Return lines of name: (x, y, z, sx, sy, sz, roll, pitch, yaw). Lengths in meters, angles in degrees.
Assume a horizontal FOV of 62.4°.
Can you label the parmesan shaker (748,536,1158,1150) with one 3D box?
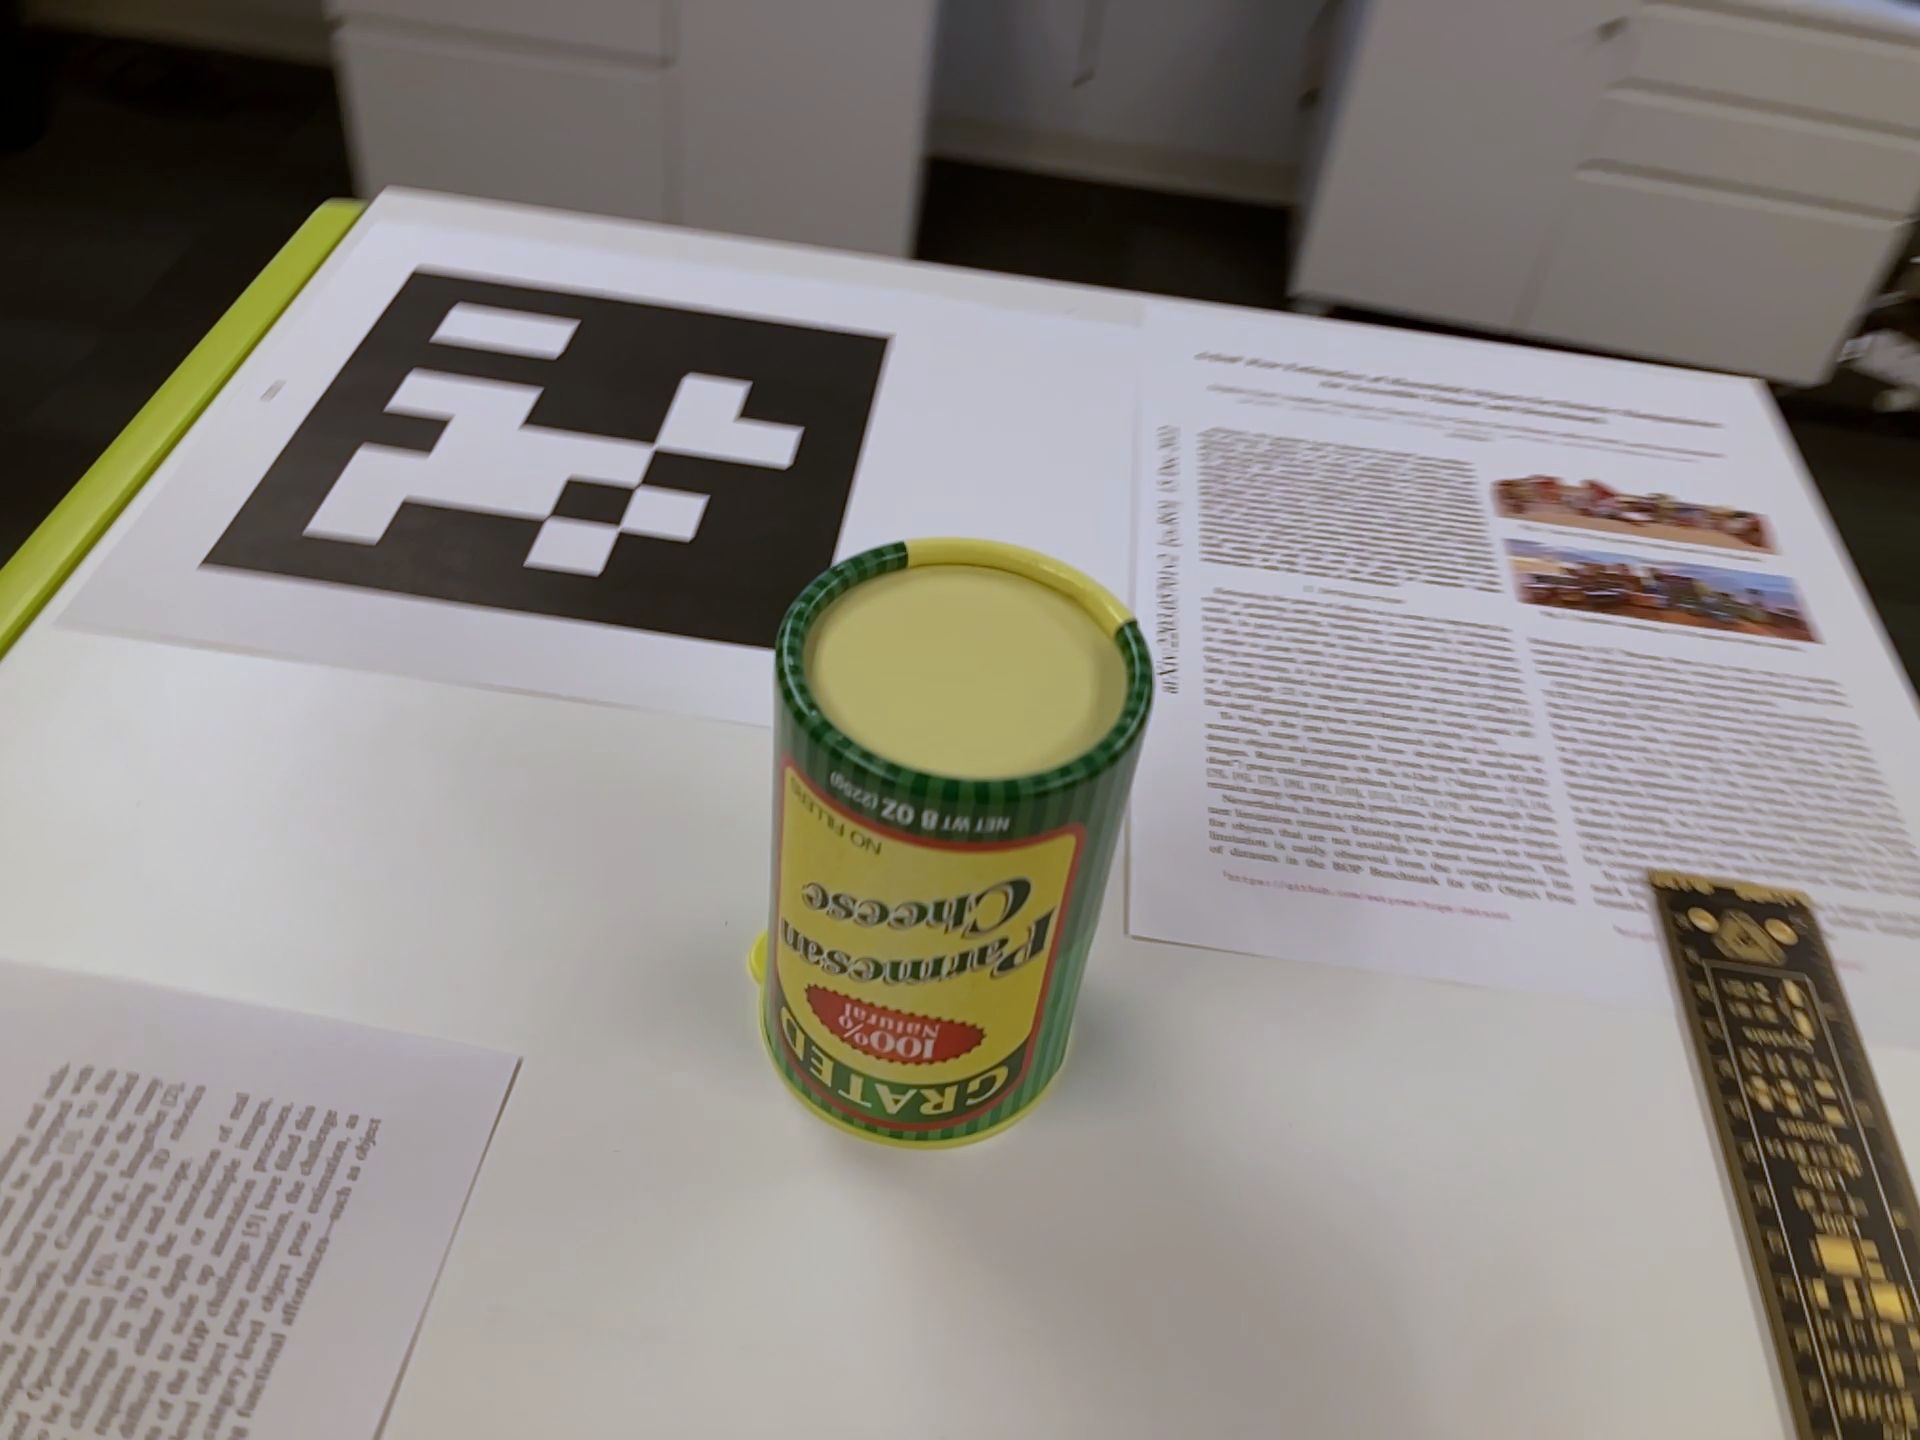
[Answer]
parmesan shaker: (-0.007, 0.024, 0.300, 0.071, 0.103, 0.071, 4, 44, -4)
